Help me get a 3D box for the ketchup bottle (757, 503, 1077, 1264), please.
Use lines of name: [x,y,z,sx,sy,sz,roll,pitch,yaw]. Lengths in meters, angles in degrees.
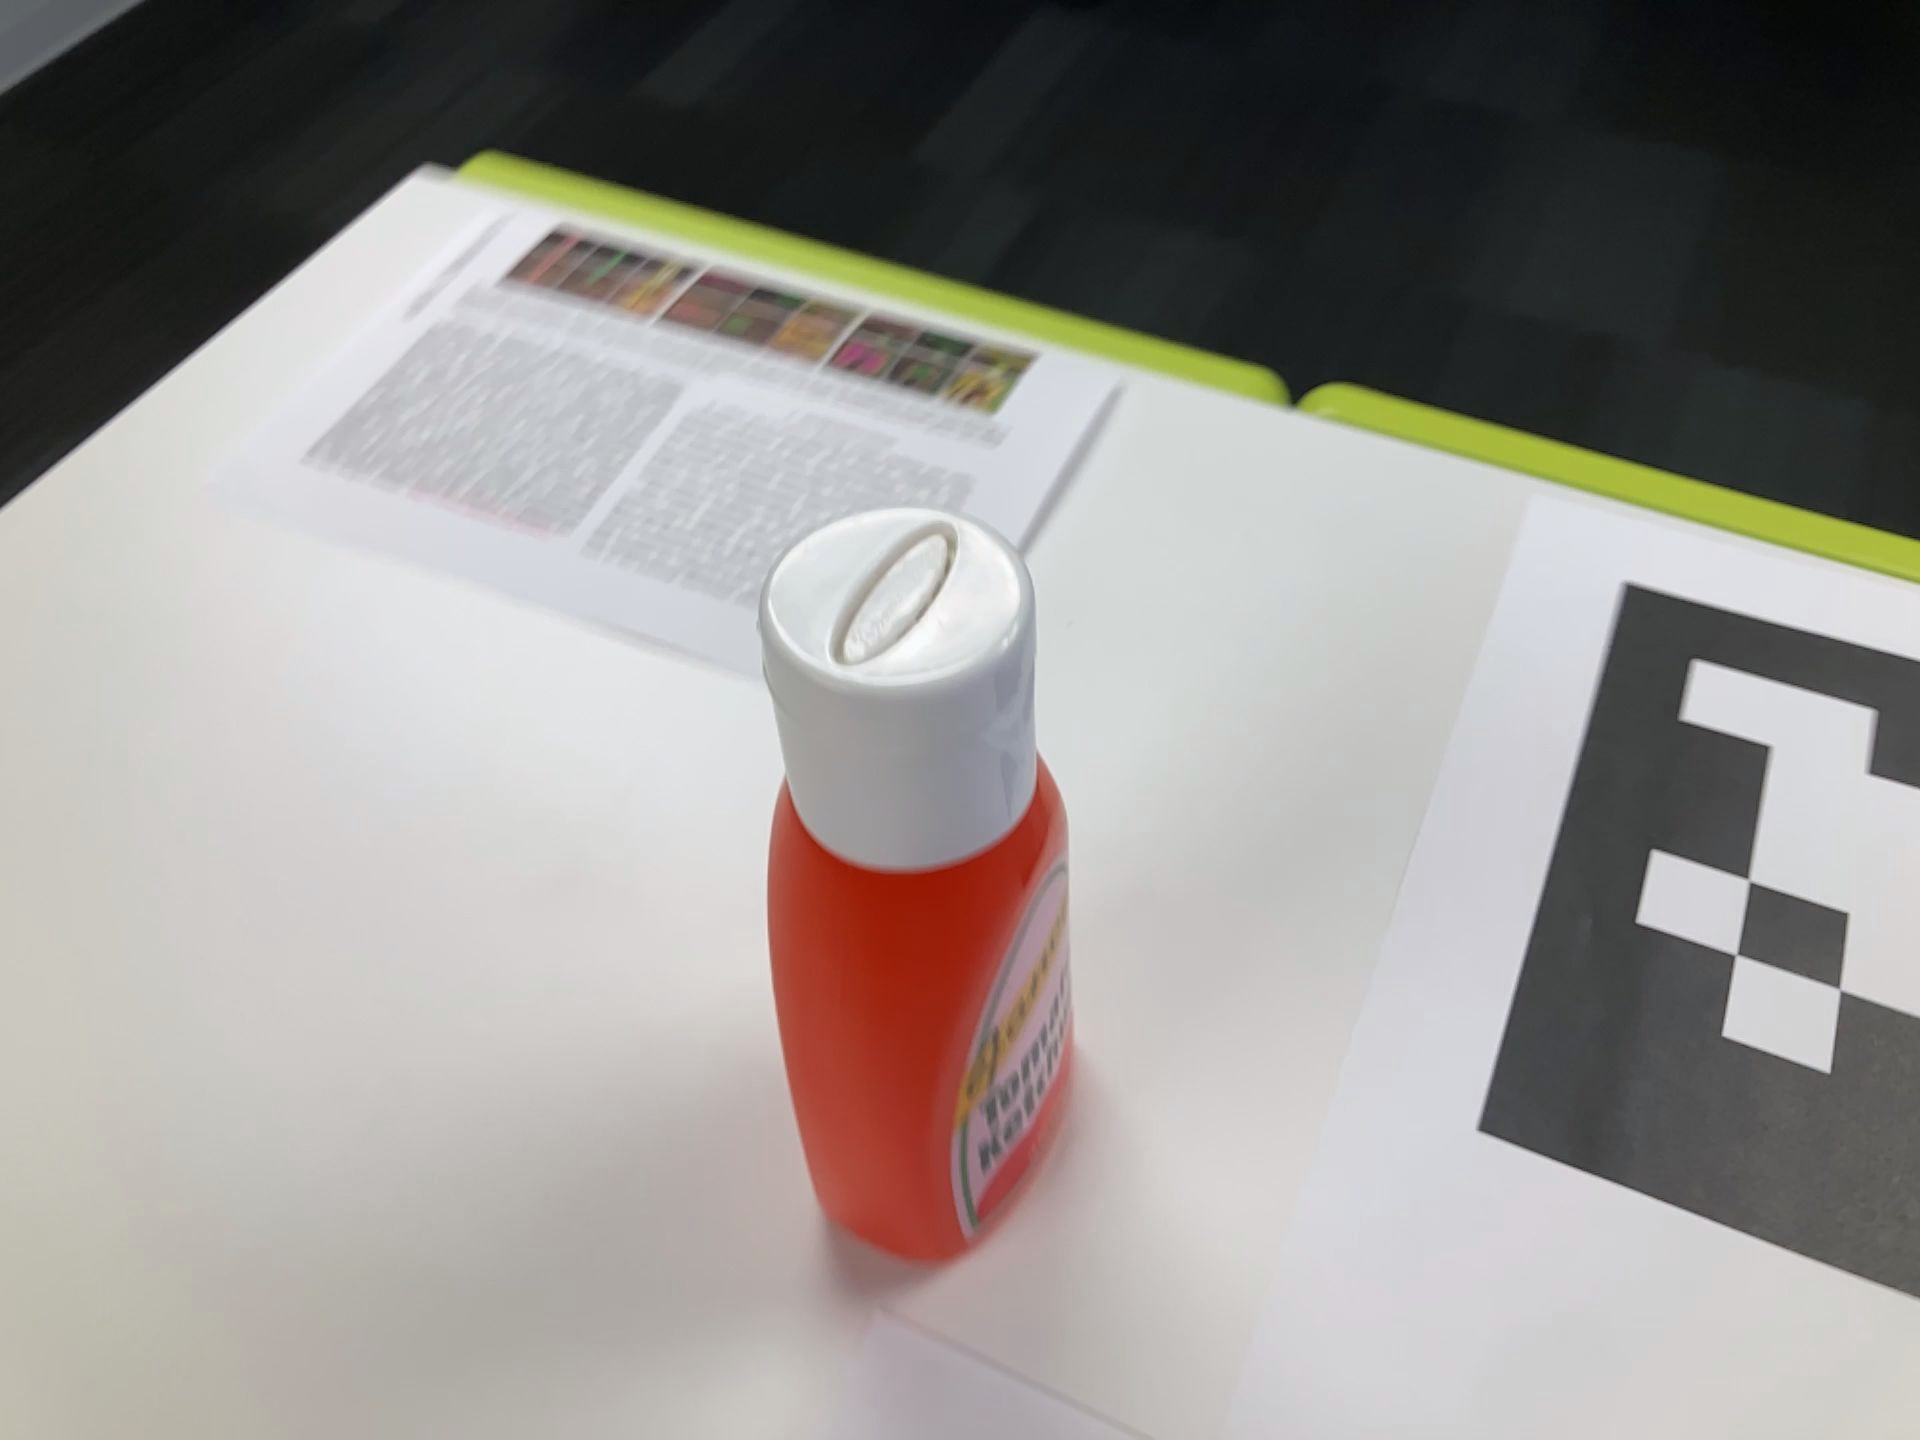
ketchup bottle: [-0.006,0.031,0.261,0.043,0.149,0.065,19,54,19]
